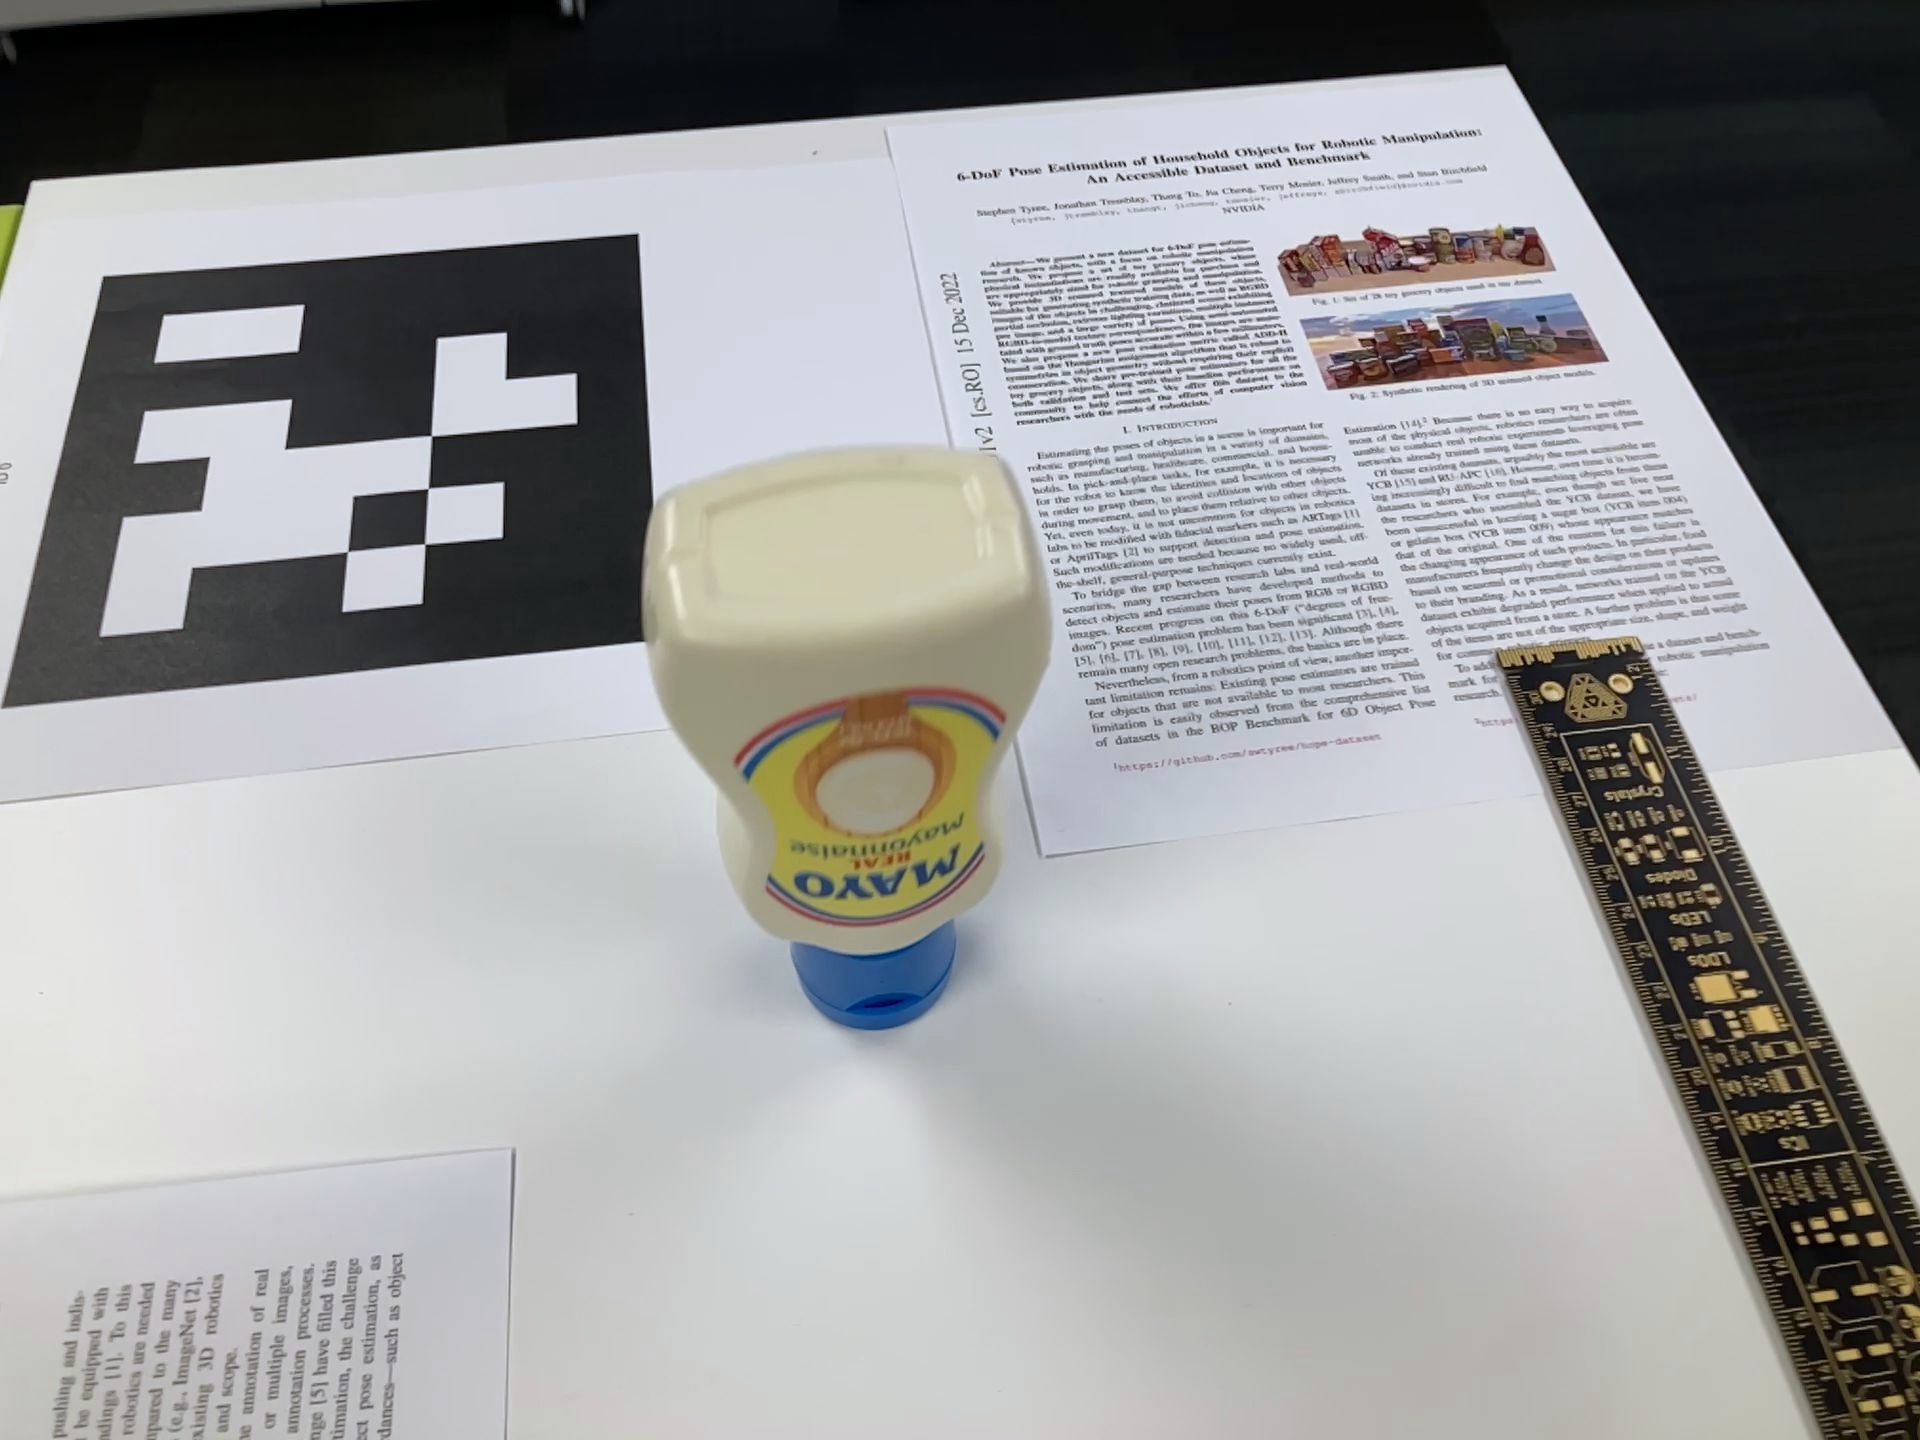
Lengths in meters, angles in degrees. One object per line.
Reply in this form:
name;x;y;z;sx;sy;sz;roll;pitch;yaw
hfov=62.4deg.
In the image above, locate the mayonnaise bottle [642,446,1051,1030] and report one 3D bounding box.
mayonnaise bottle;-0.019;0.013;0.299;0.065;0.148;0.041;-8;56;-6
